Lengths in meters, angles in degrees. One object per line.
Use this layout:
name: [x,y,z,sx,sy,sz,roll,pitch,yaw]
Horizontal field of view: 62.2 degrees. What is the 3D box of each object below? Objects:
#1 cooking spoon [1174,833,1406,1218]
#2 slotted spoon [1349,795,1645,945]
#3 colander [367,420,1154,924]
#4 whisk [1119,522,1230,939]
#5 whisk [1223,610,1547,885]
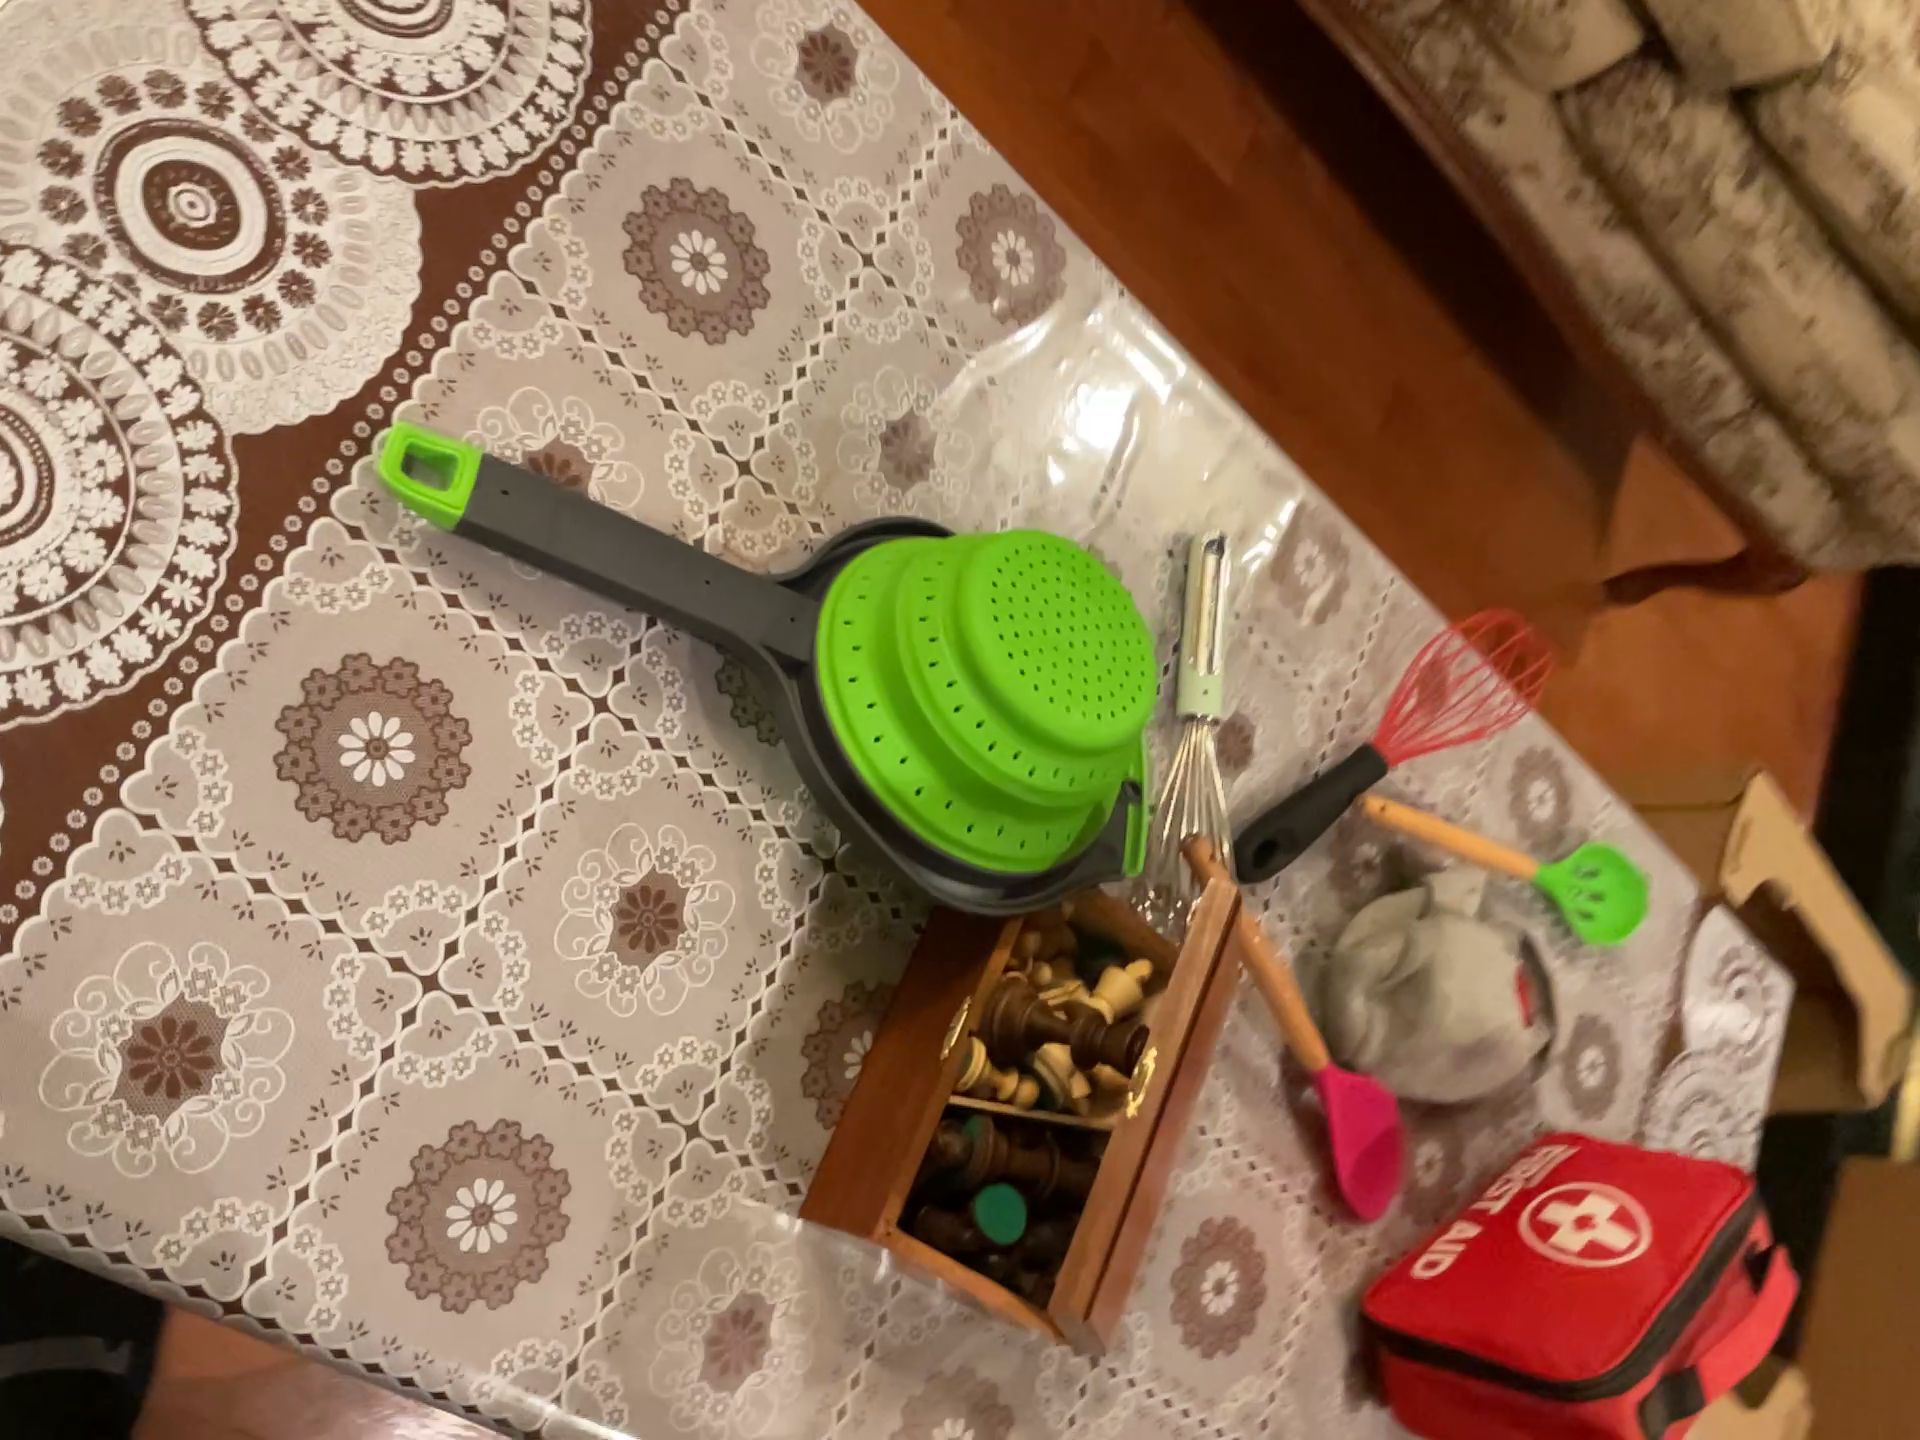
cooking spoon: [0.188,0.174,0.881,0.069,0.017,0.318,-54,127,-29]
slotted spoon: [0.350,0.090,1.027,0.313,0.031,0.070,19,75,-37]
colander: [-0.047,-0.048,0.685,0.396,0.094,0.205,24,52,-26]
whisk: [0.126,0.007,0.875,0.057,0.059,0.246,54,42,-72]
whisk: [0.262,0.016,0.966,0.296,0.073,0.073,-33,112,-28]
